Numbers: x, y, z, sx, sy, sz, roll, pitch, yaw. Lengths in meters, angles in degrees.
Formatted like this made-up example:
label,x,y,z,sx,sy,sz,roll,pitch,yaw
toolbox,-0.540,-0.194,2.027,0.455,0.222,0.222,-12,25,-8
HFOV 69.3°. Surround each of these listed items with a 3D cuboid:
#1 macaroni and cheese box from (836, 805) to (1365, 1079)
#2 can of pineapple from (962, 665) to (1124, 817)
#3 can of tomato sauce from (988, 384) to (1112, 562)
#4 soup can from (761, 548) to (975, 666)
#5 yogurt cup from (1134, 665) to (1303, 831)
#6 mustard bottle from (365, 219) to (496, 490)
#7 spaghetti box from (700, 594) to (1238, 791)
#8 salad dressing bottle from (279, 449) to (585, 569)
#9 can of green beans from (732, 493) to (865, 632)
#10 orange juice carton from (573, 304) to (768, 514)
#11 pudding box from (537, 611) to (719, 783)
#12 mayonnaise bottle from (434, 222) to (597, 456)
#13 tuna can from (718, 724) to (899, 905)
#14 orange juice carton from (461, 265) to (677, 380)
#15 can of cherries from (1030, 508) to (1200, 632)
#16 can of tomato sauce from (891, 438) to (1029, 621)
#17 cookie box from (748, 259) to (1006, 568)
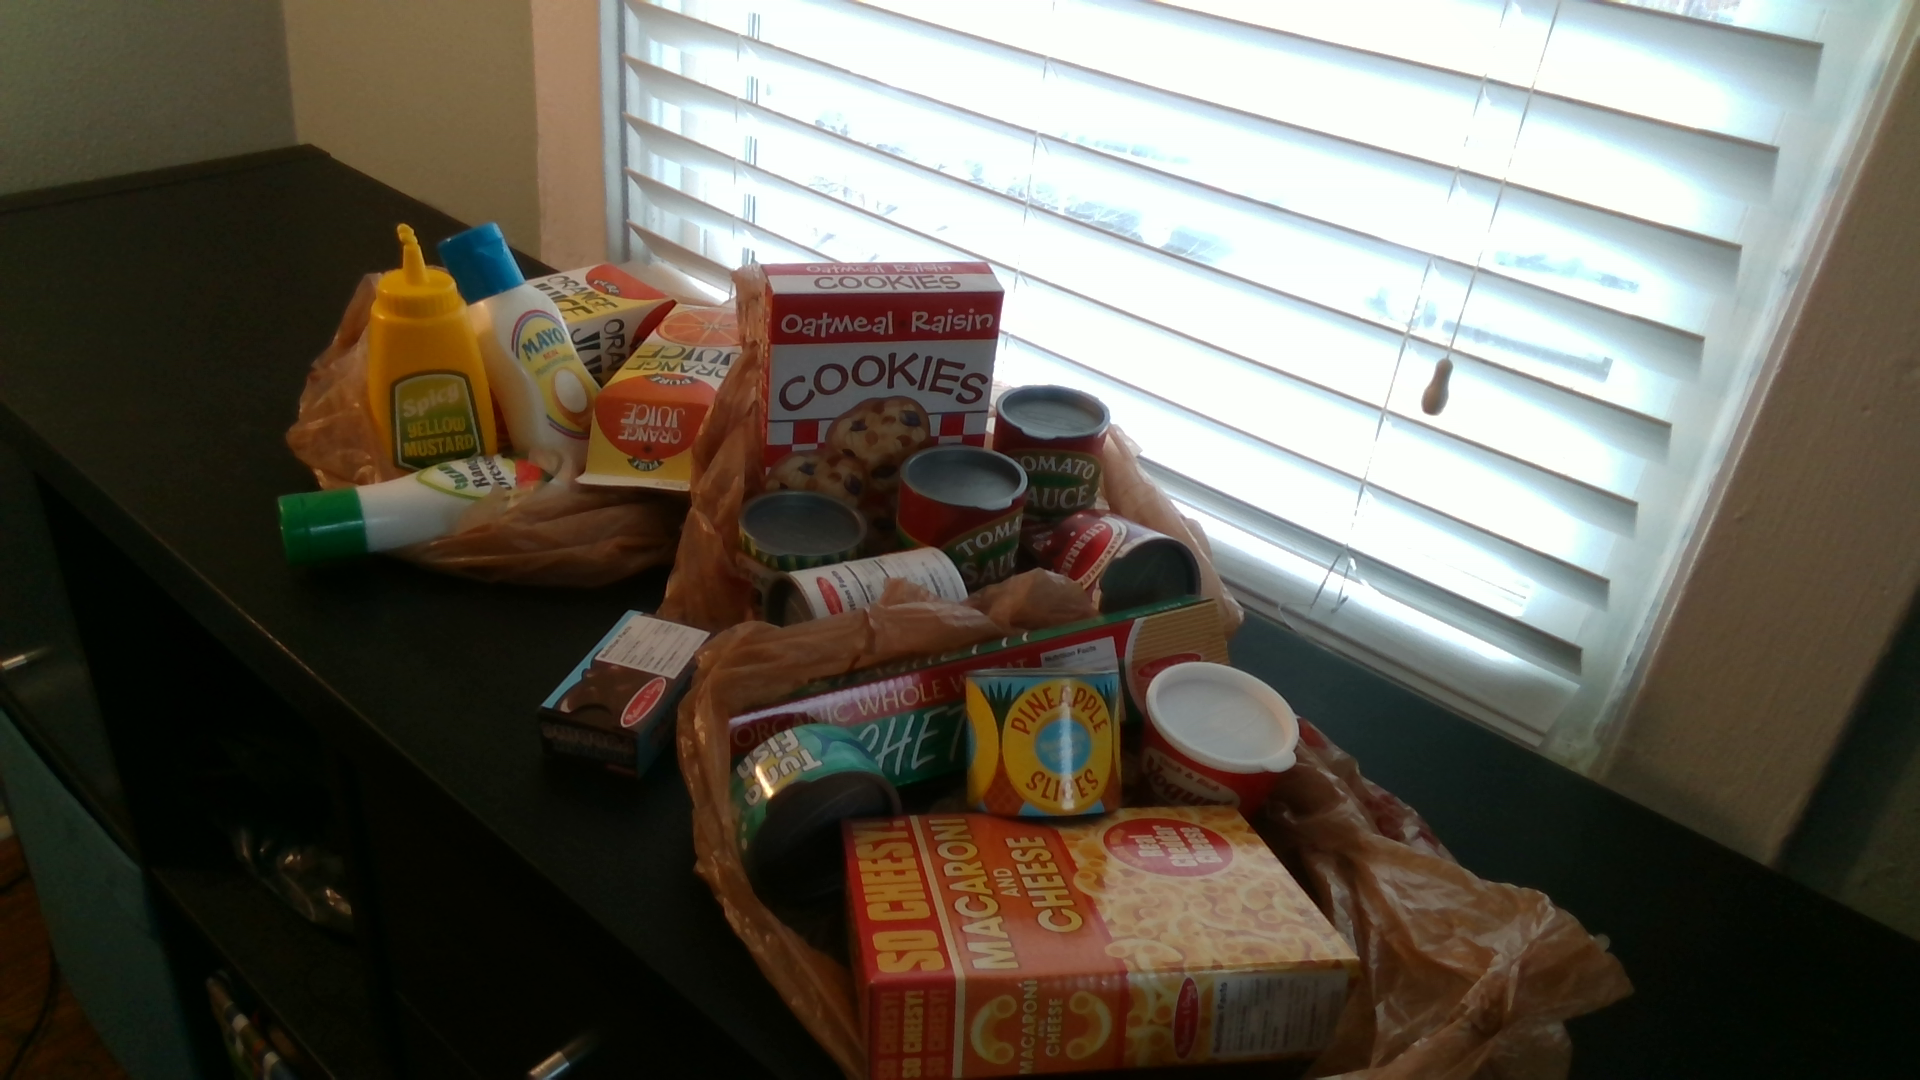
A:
label,x,y,z,sx,sy,sz,roll,pitch,yaw
macaroni and cheese box,0.042,0.142,0.509,0.167,0.040,0.124,0,13,-10
can of pineapple,0.035,0.082,0.573,0.071,0.058,0.071,-1,-4,0
can of tomato sauce,0.047,-0.037,0.789,0.071,0.082,0.071,6,30,-3
soup can,-0.045,0.044,0.661,0.084,0.071,0.071,-9,34,-27
yogurt cup,0.109,0.095,0.607,0.072,0.053,0.073,10,31,-6
mustard bottle,-0.290,-0.095,0.750,0.065,0.159,0.049,-12,37,-25
spaghetti box,0.009,0.072,0.614,0.251,0.050,0.028,-11,5,-20
salad dressing bottle,-0.278,-0.015,0.736,0.148,0.043,0.064,-12,32,-26
can of green beans,-0.086,0.015,0.716,0.071,0.057,0.071,8,26,-4
orange juice carton,-0.161,-0.072,0.819,0.072,0.072,0.193,6,29,4
pudding box,-0.149,0.069,0.633,0.050,0.030,0.084,12,32,11
mayonnaise bottle,-0.249,-0.107,0.797,0.041,0.147,0.065,-14,18,36
tuna can,-0.062,0.106,0.549,0.071,0.070,0.033,-14,35,-30
orange juice carton,-0.251,-0.124,0.889,0.072,0.072,0.193,29,35,32
can of cherries,0.076,0.020,0.703,0.072,0.071,0.058,-15,22,-31
can of tomato sauce,-0.001,0.000,0.715,0.071,0.082,0.071,5,33,-3
cookie box,-0.048,-0.065,0.741,0.123,0.166,0.040,-4,33,-19
